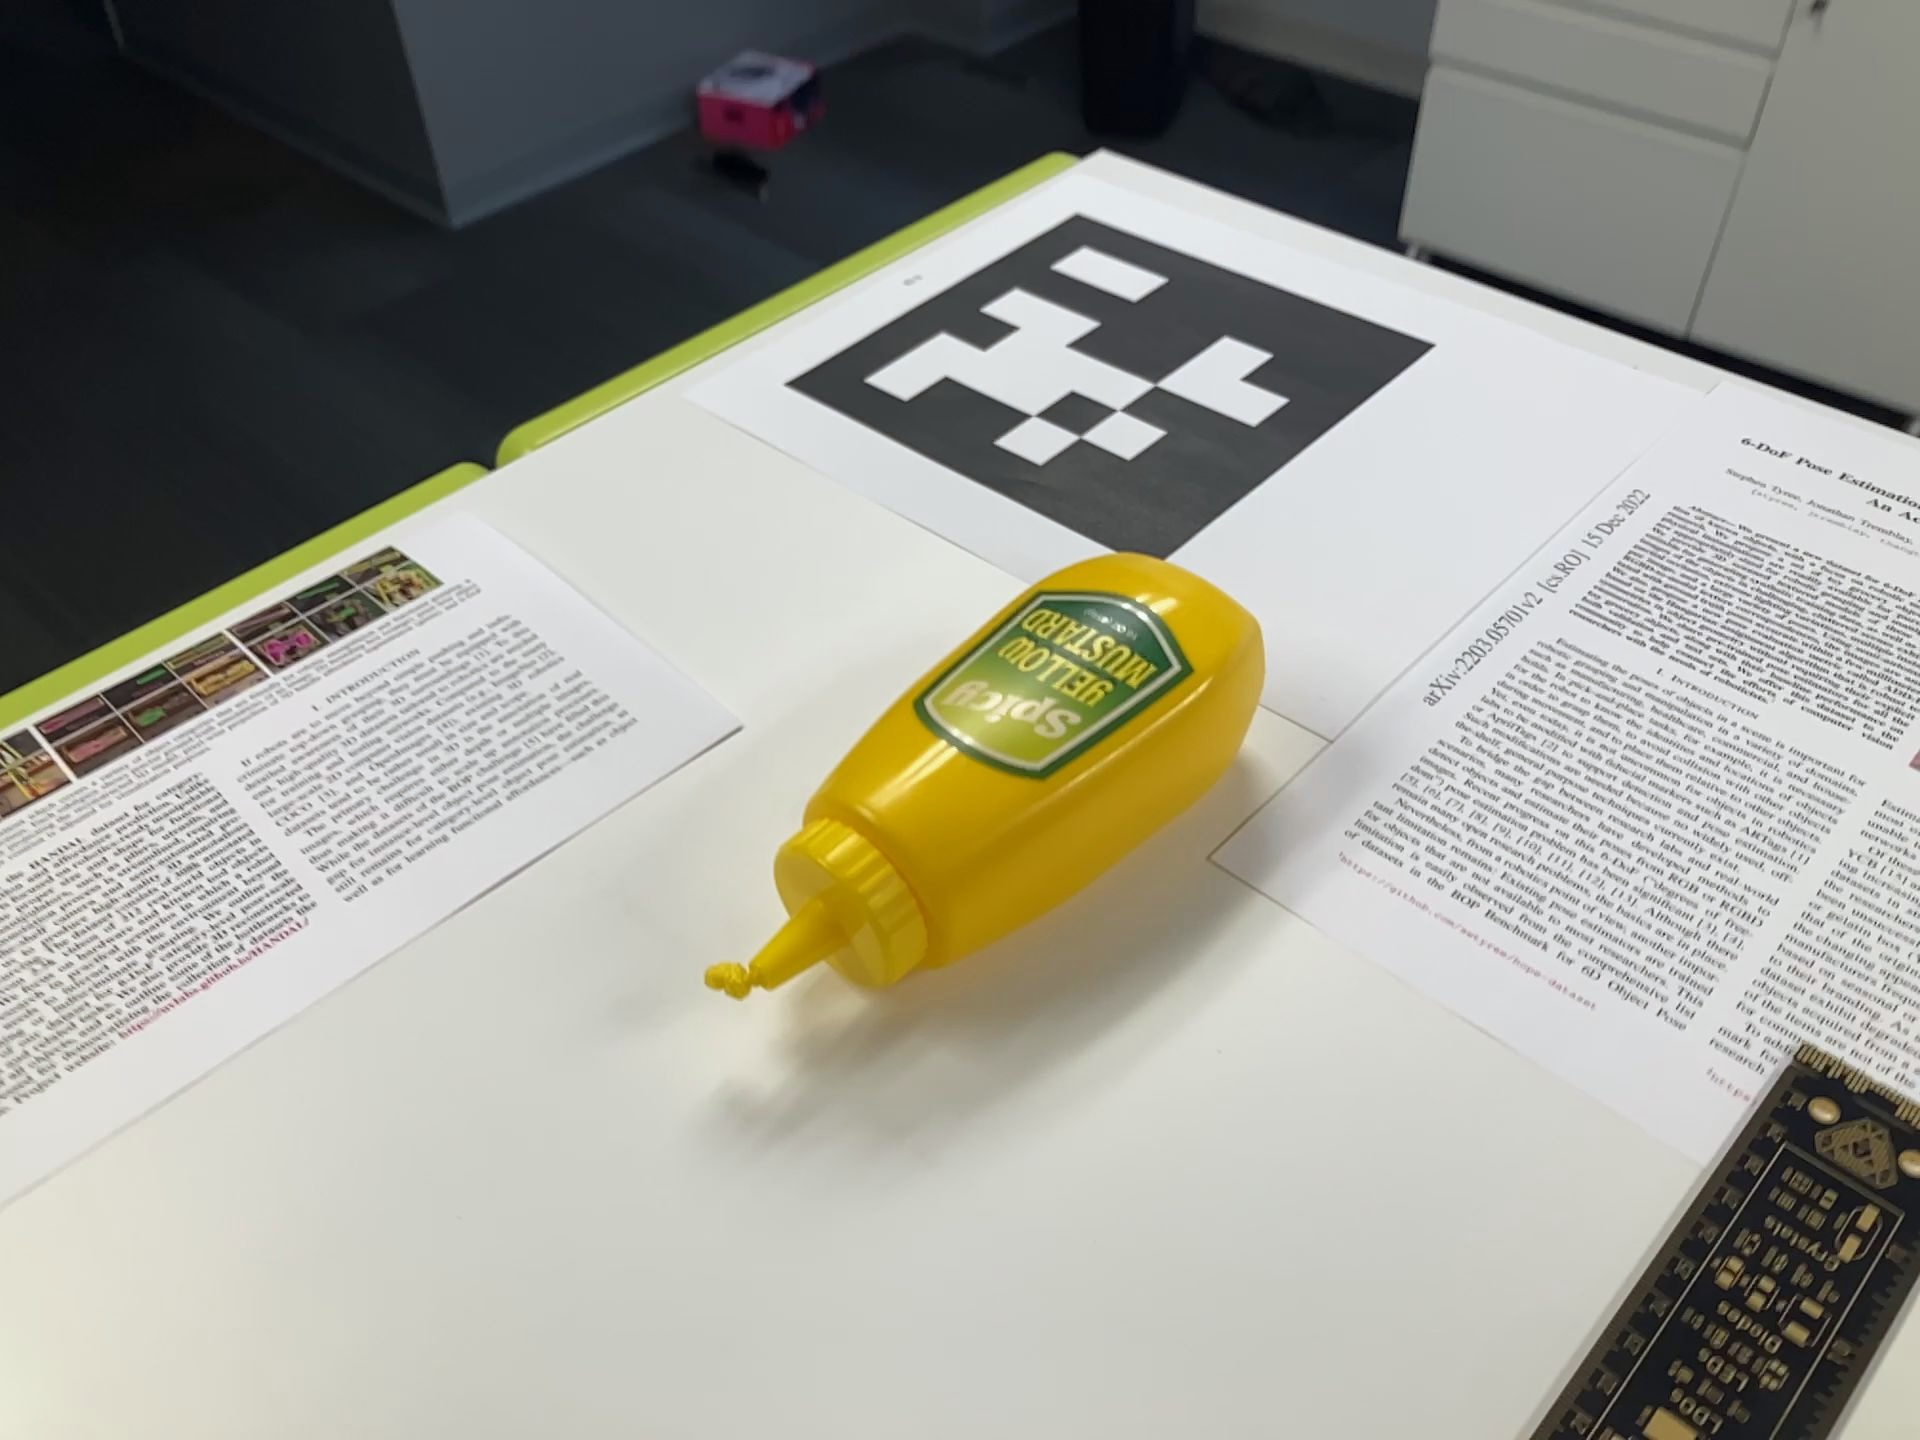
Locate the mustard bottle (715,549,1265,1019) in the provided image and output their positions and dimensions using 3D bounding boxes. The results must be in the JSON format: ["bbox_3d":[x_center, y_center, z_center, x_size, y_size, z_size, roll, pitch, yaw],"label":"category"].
[{"bbox_3d":[0.006,0.018,0.372,0.065,0.049,0.160,30,53,31],"label":"mustard bottle"}]
